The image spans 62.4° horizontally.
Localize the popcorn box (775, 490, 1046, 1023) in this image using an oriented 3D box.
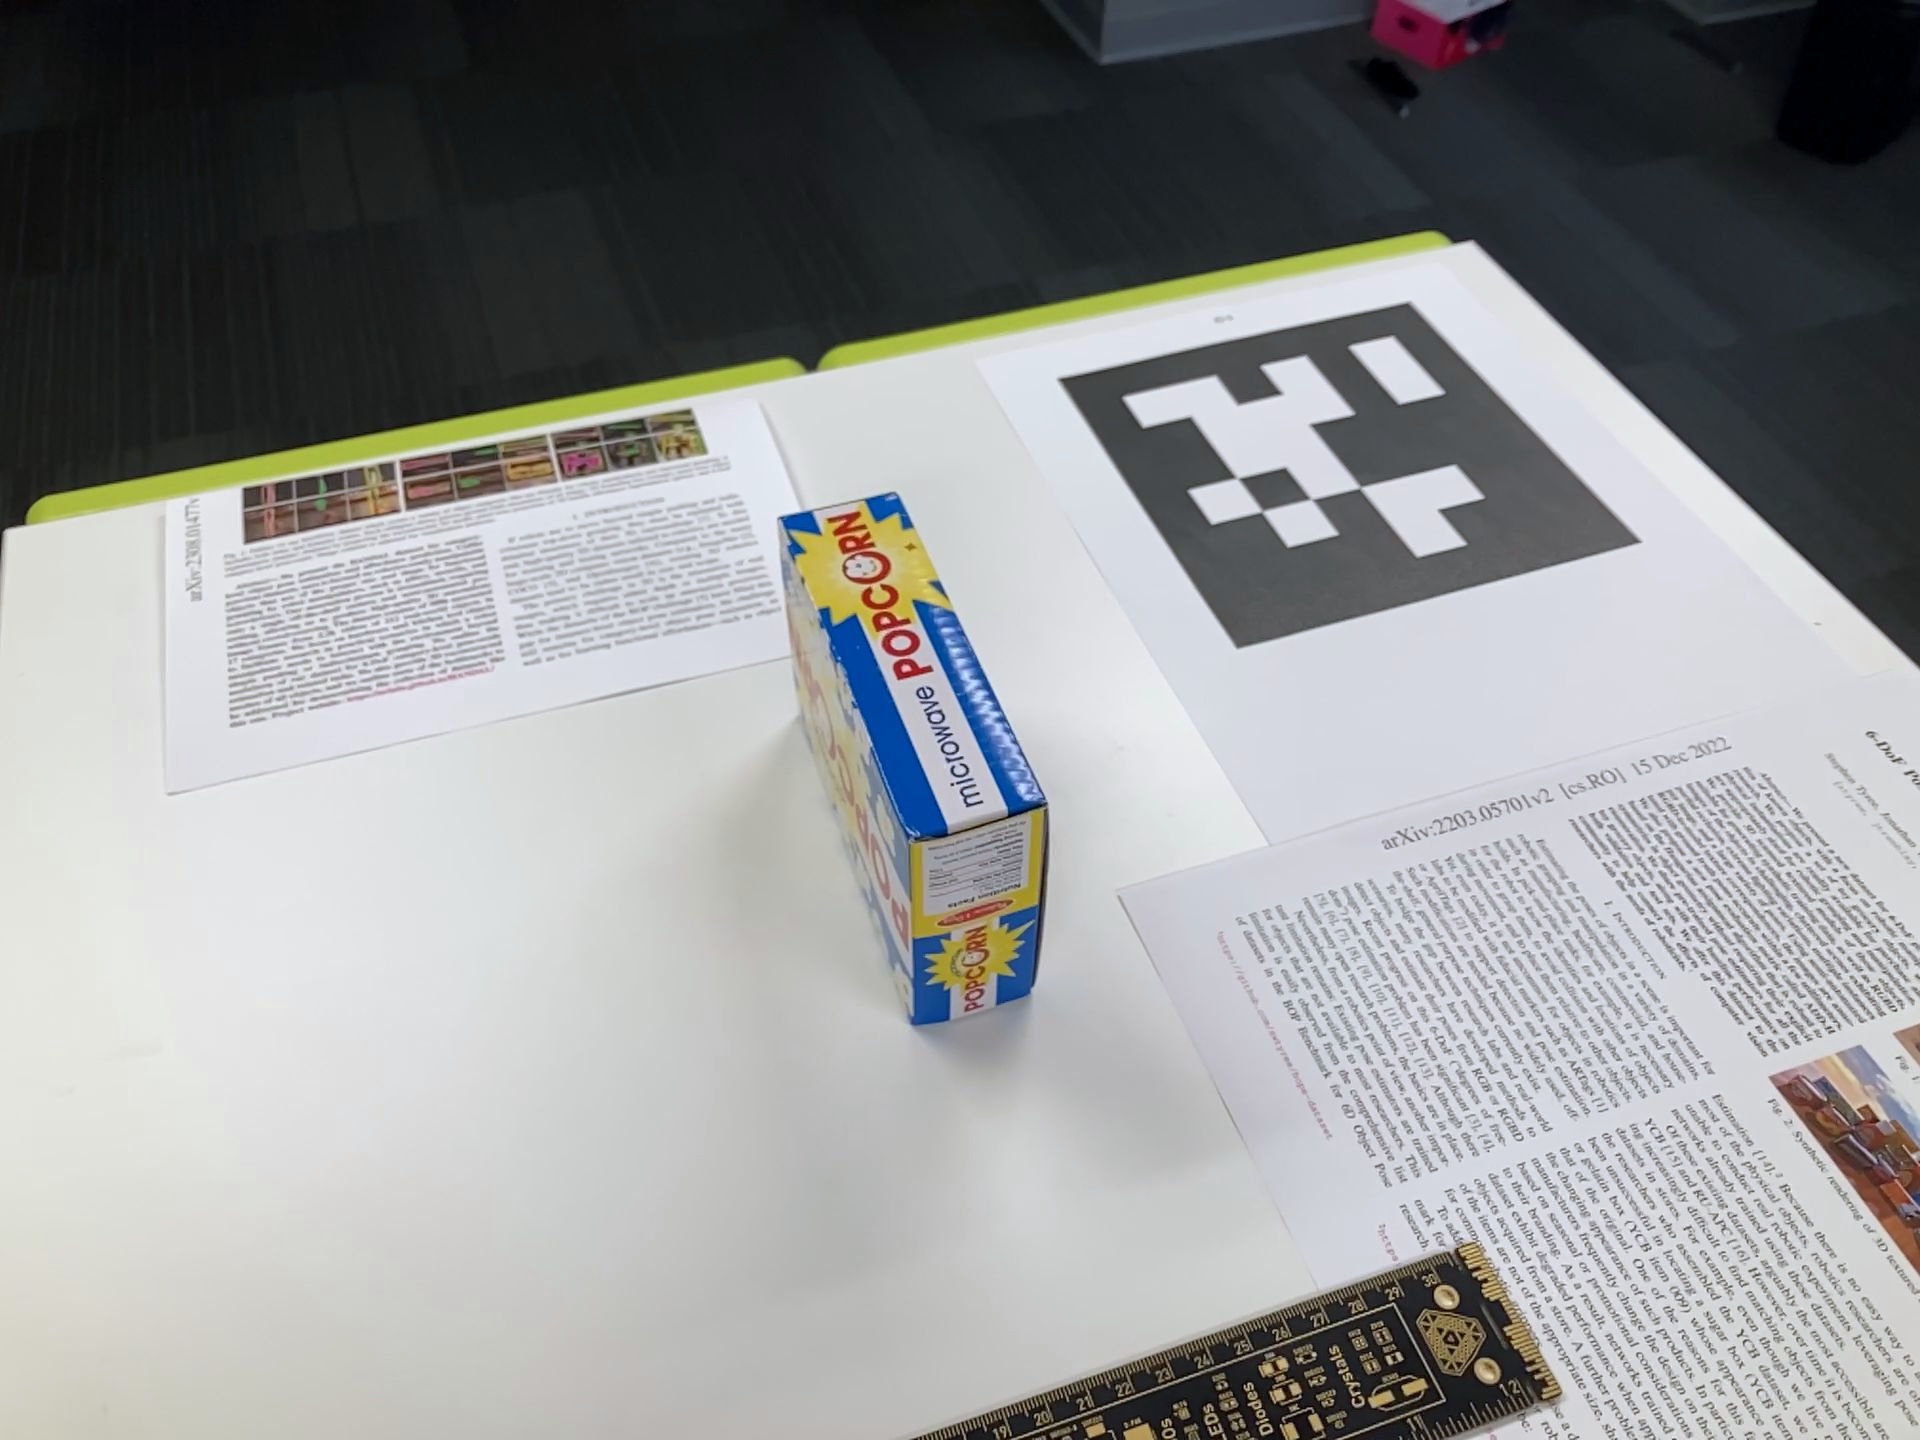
[{"bbox_3d":[-0.016,0.009,0.448,0.038,0.085,0.126,-15,50,-12],"label":"popcorn box"}]
